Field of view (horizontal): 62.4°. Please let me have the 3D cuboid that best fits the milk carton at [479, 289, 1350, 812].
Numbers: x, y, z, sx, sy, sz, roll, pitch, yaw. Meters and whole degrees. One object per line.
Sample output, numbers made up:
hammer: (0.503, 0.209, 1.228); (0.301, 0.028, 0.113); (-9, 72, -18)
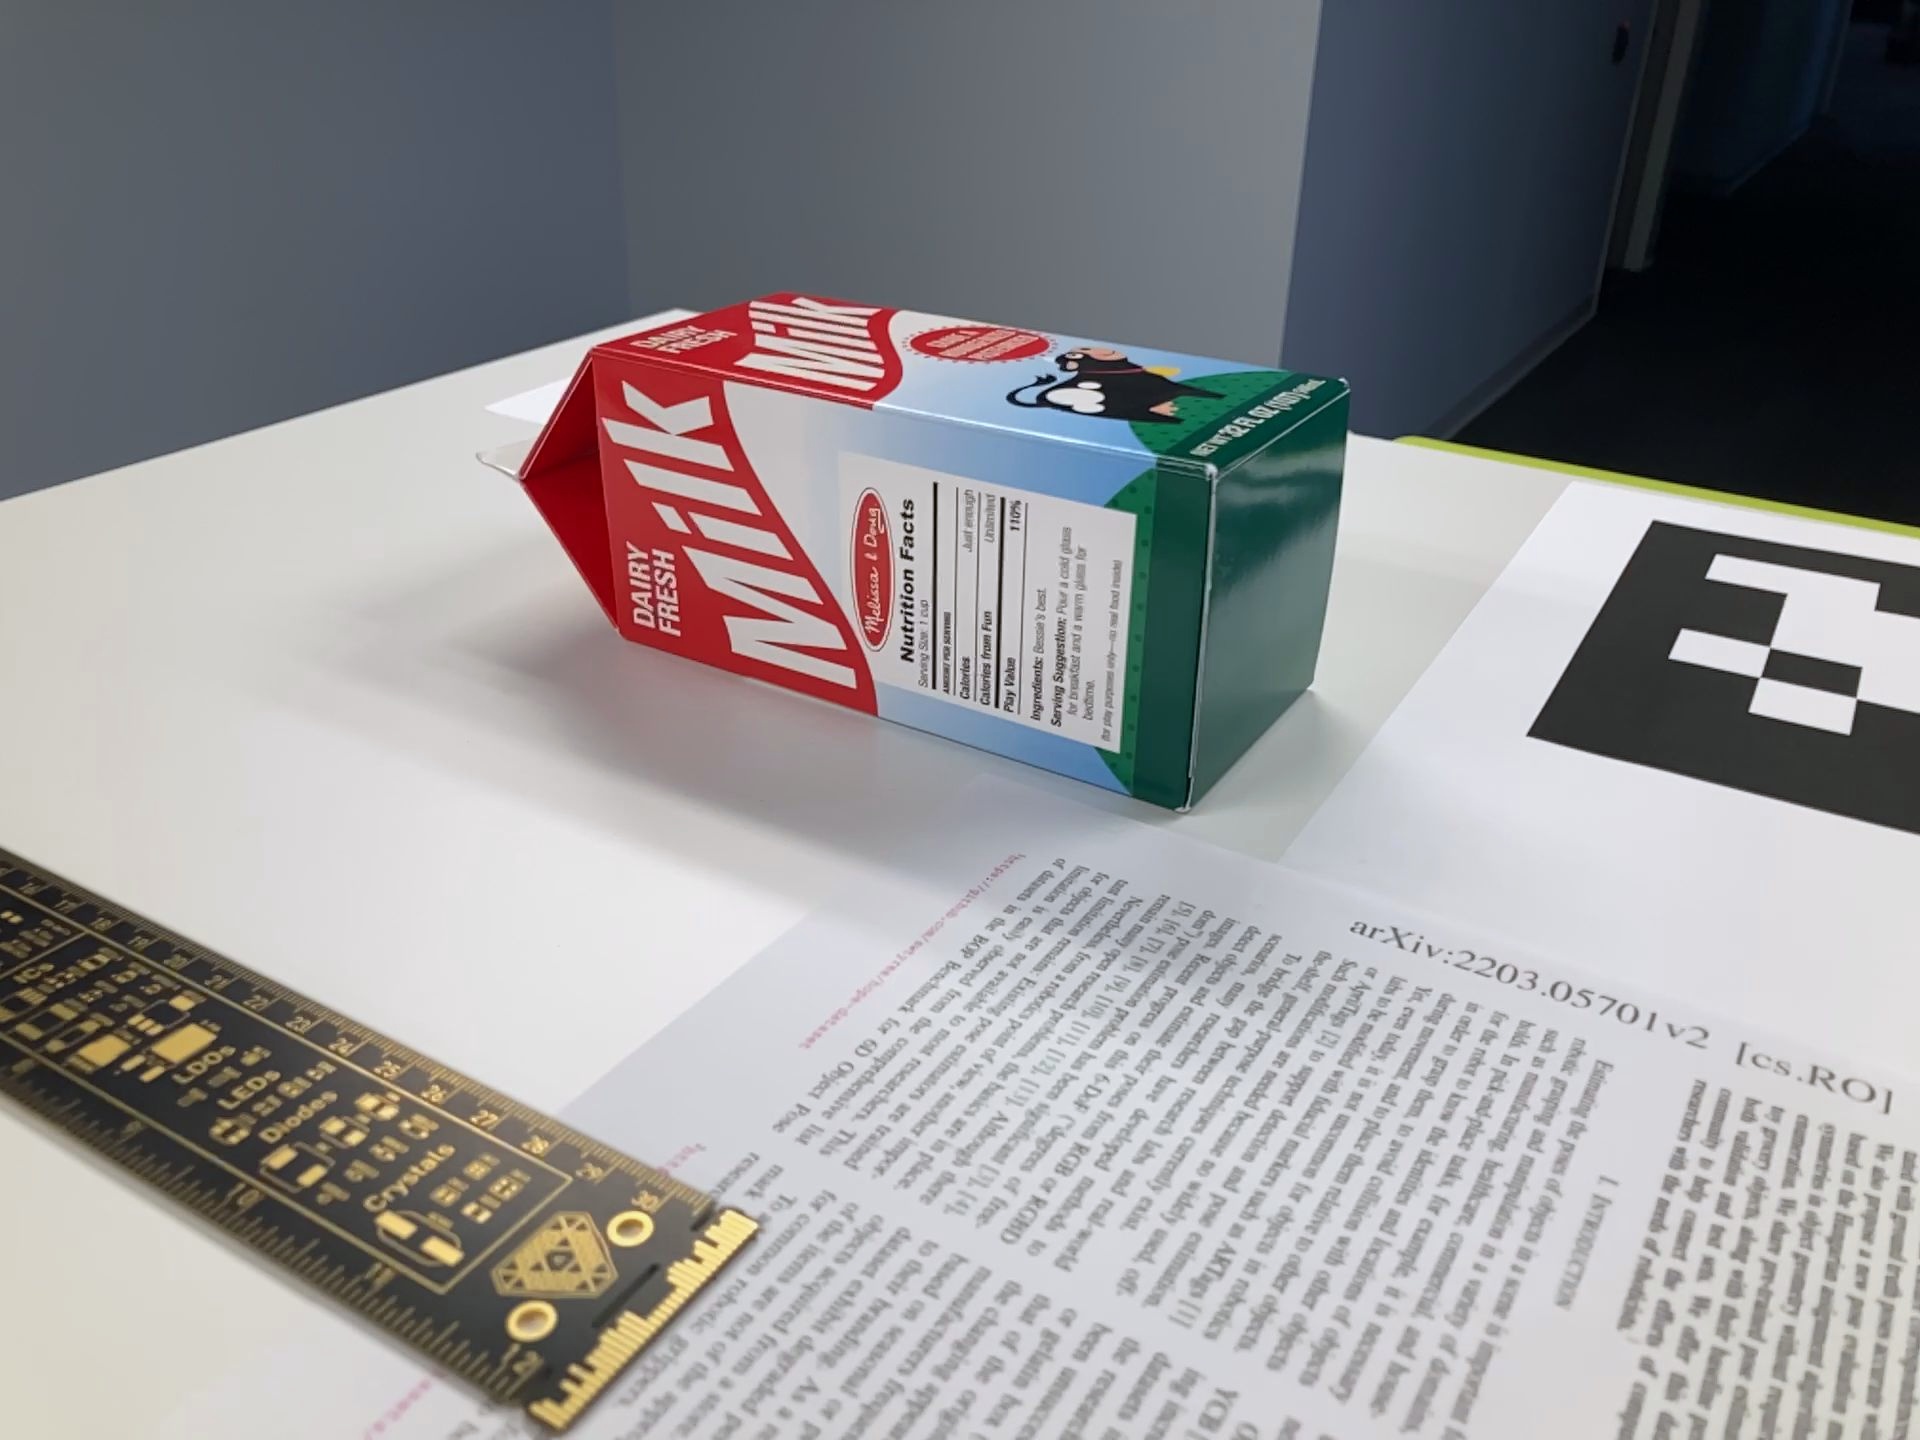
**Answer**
milk carton: (-0.017, -0.050, 0.362); (0.190, 0.073, 0.072); (16, 32, 27)
